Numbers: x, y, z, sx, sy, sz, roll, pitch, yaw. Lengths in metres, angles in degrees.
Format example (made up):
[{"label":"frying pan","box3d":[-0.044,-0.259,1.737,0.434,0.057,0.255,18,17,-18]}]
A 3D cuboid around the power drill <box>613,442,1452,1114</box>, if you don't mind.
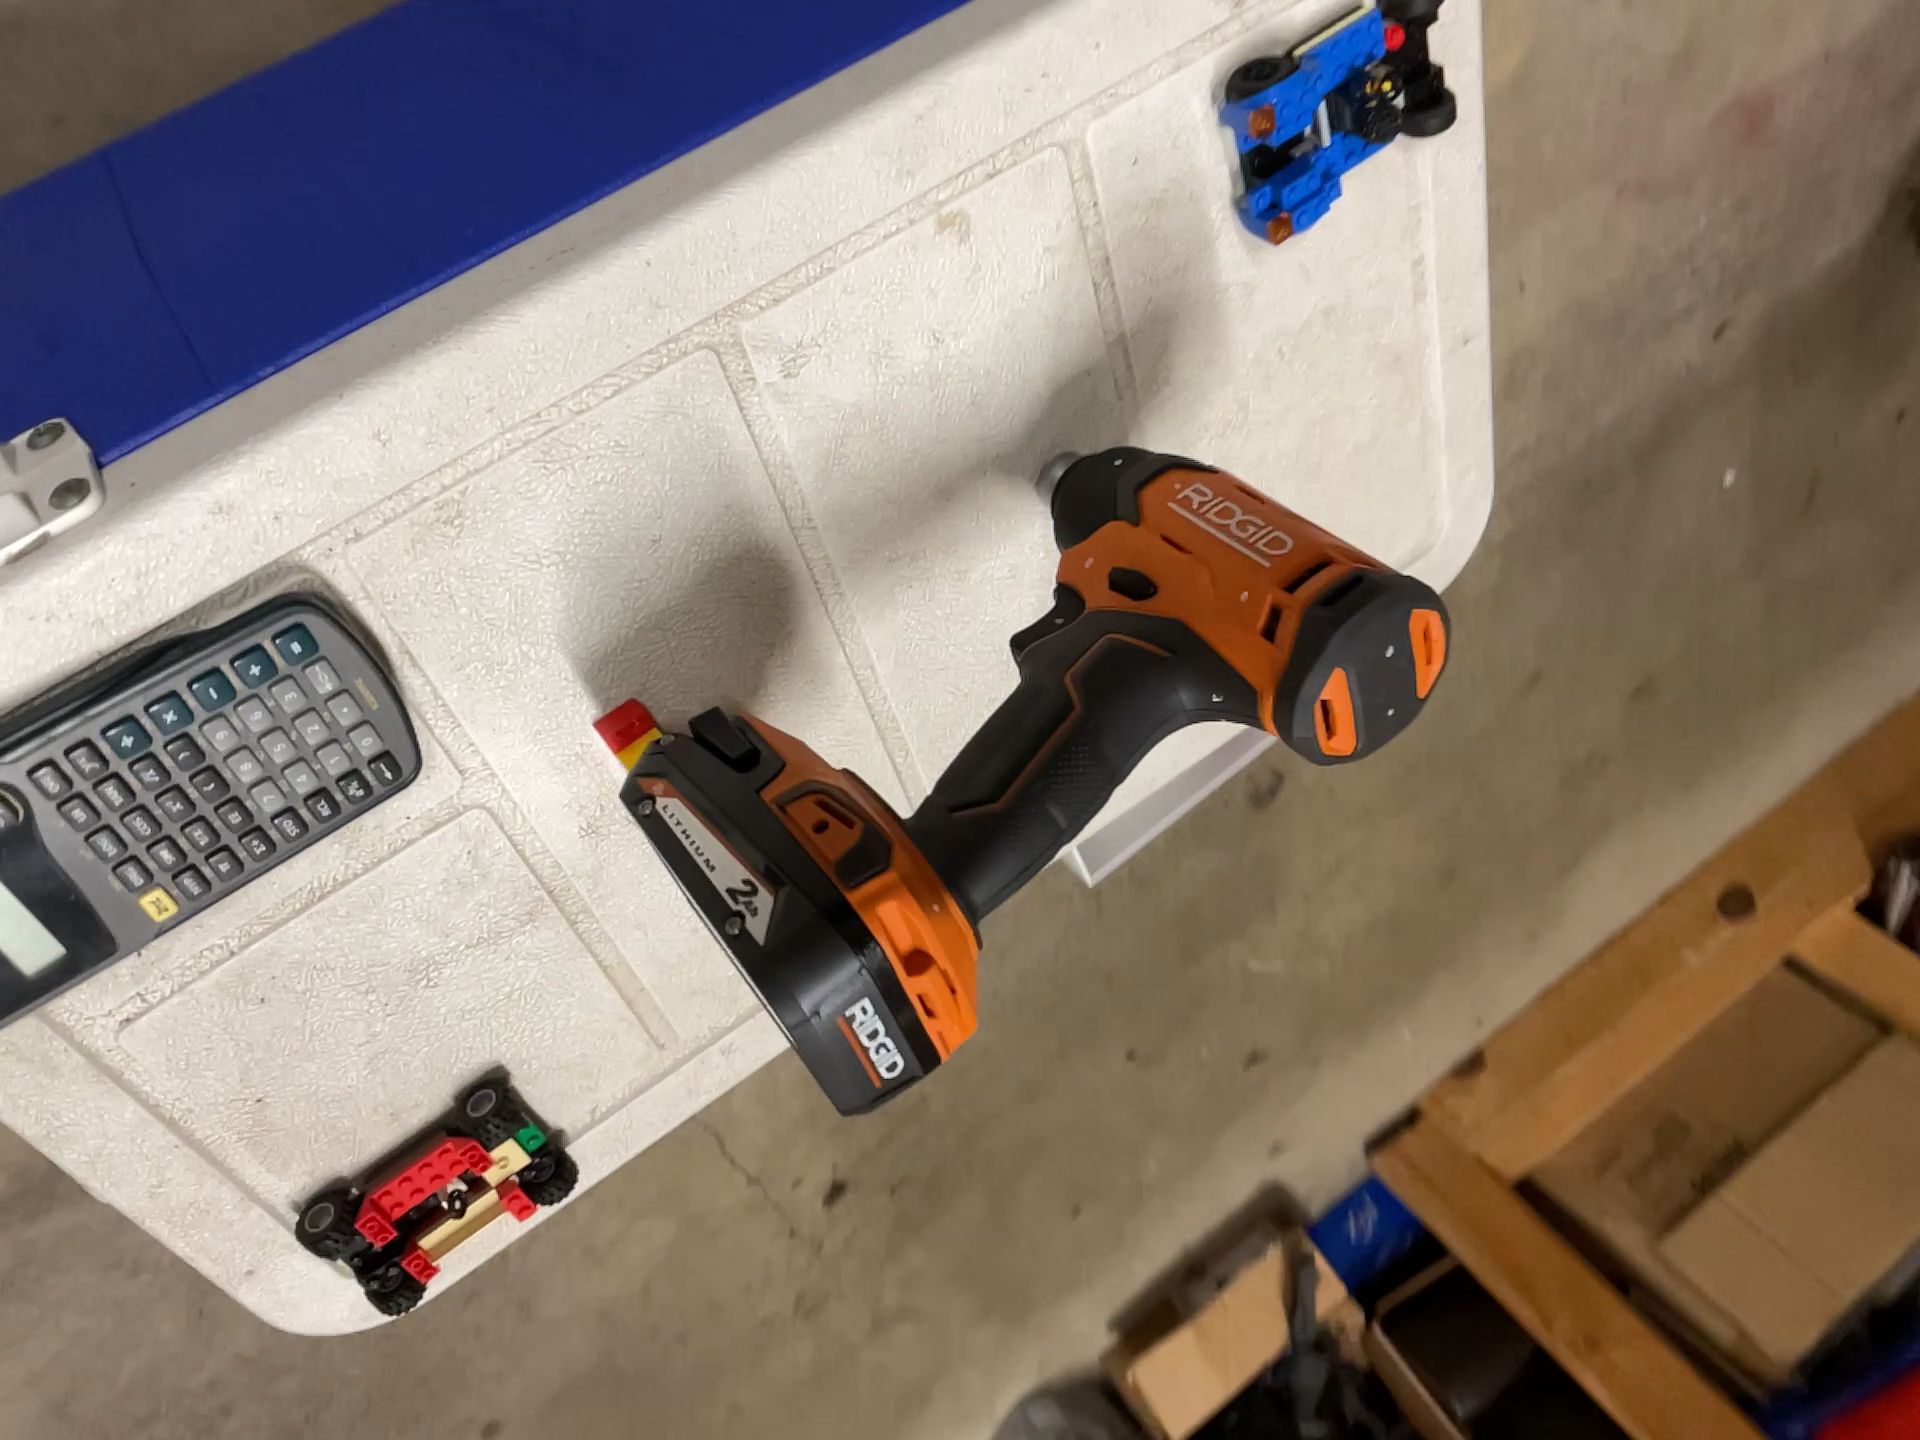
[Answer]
[{"label":"power drill","box3d":[0.014,-0.004,0.497,0.226,0.164,0.084,-35,135,-13]}]
